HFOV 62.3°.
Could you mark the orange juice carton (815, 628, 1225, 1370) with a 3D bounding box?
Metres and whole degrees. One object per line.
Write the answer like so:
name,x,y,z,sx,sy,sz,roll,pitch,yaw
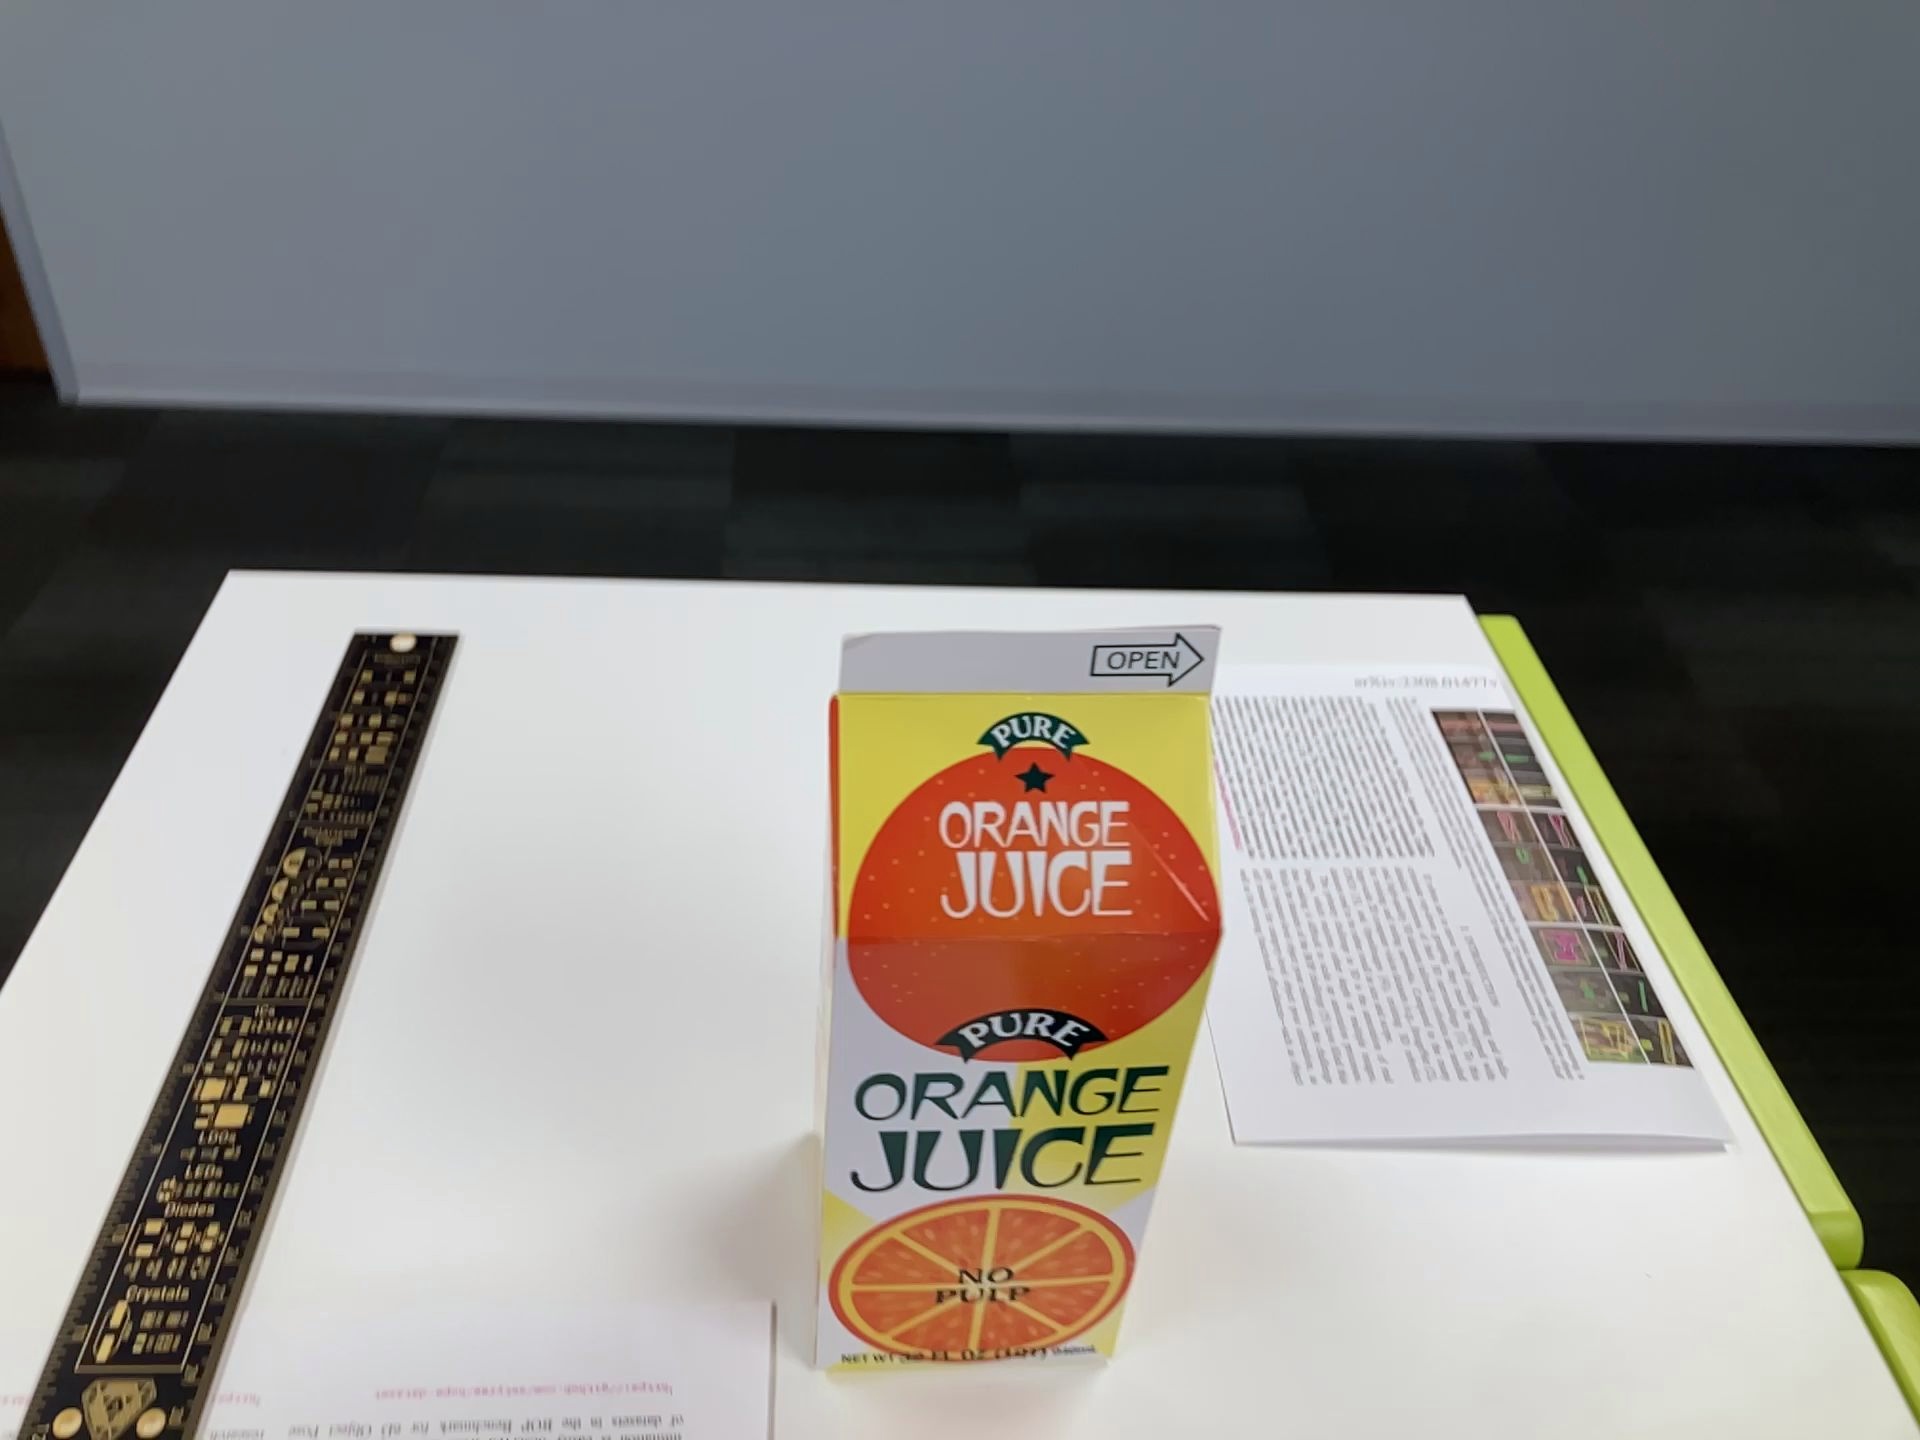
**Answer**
orange juice carton,0.006,0.058,0.344,0.072,0.192,0.073,0,39,-7
